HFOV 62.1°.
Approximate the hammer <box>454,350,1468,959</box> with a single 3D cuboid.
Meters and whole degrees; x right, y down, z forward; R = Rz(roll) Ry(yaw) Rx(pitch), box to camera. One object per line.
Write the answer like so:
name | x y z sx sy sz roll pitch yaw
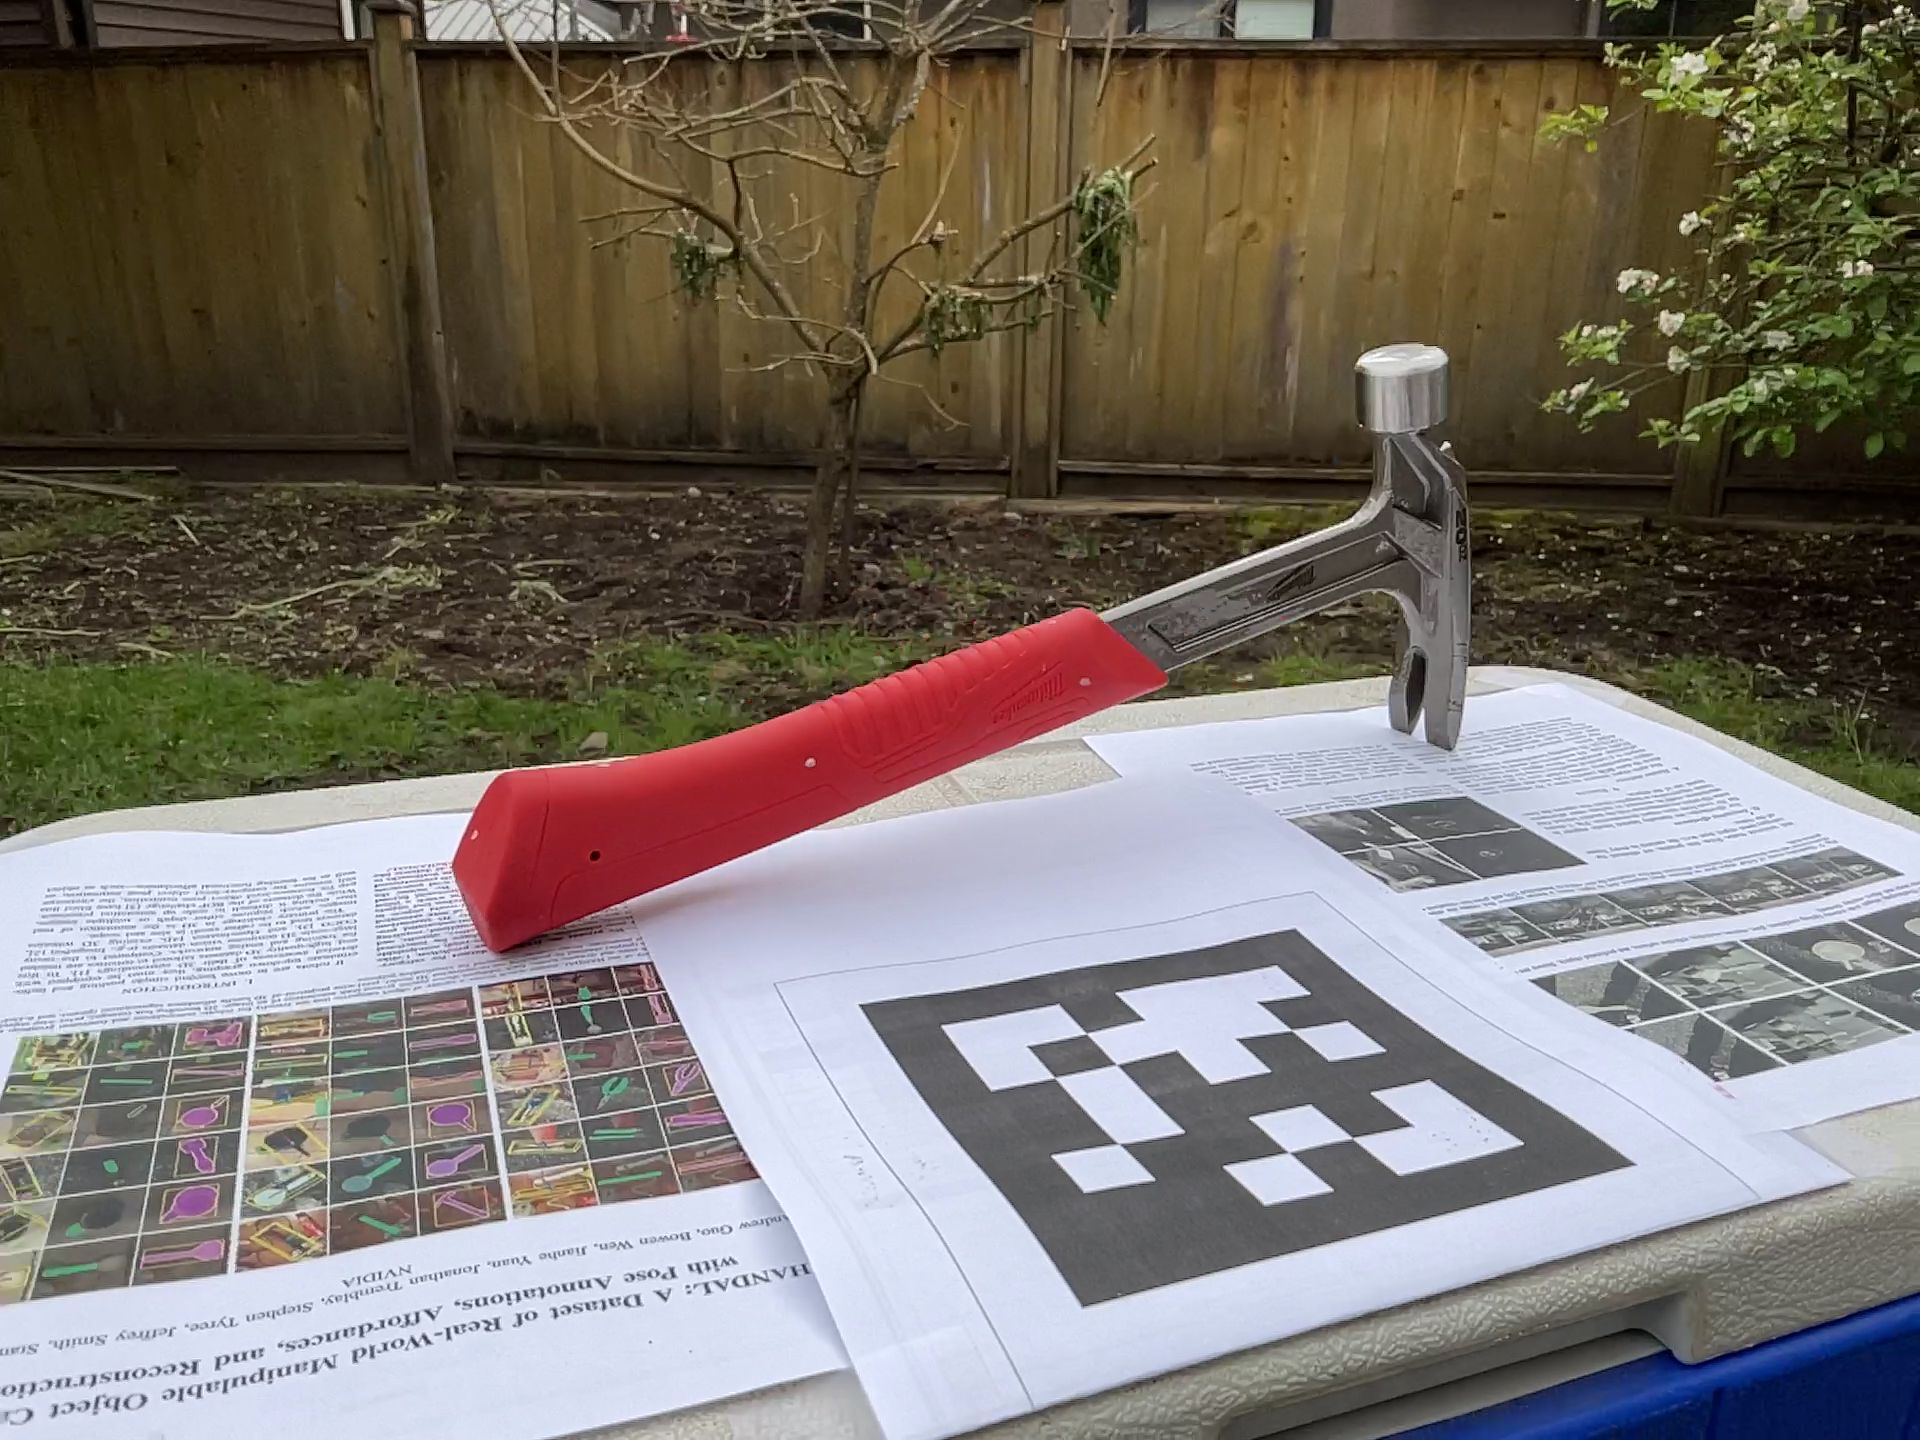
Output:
hammer | 0.023 -0.002 0.505 0.359 0.149 0.037 -22 28 -25
